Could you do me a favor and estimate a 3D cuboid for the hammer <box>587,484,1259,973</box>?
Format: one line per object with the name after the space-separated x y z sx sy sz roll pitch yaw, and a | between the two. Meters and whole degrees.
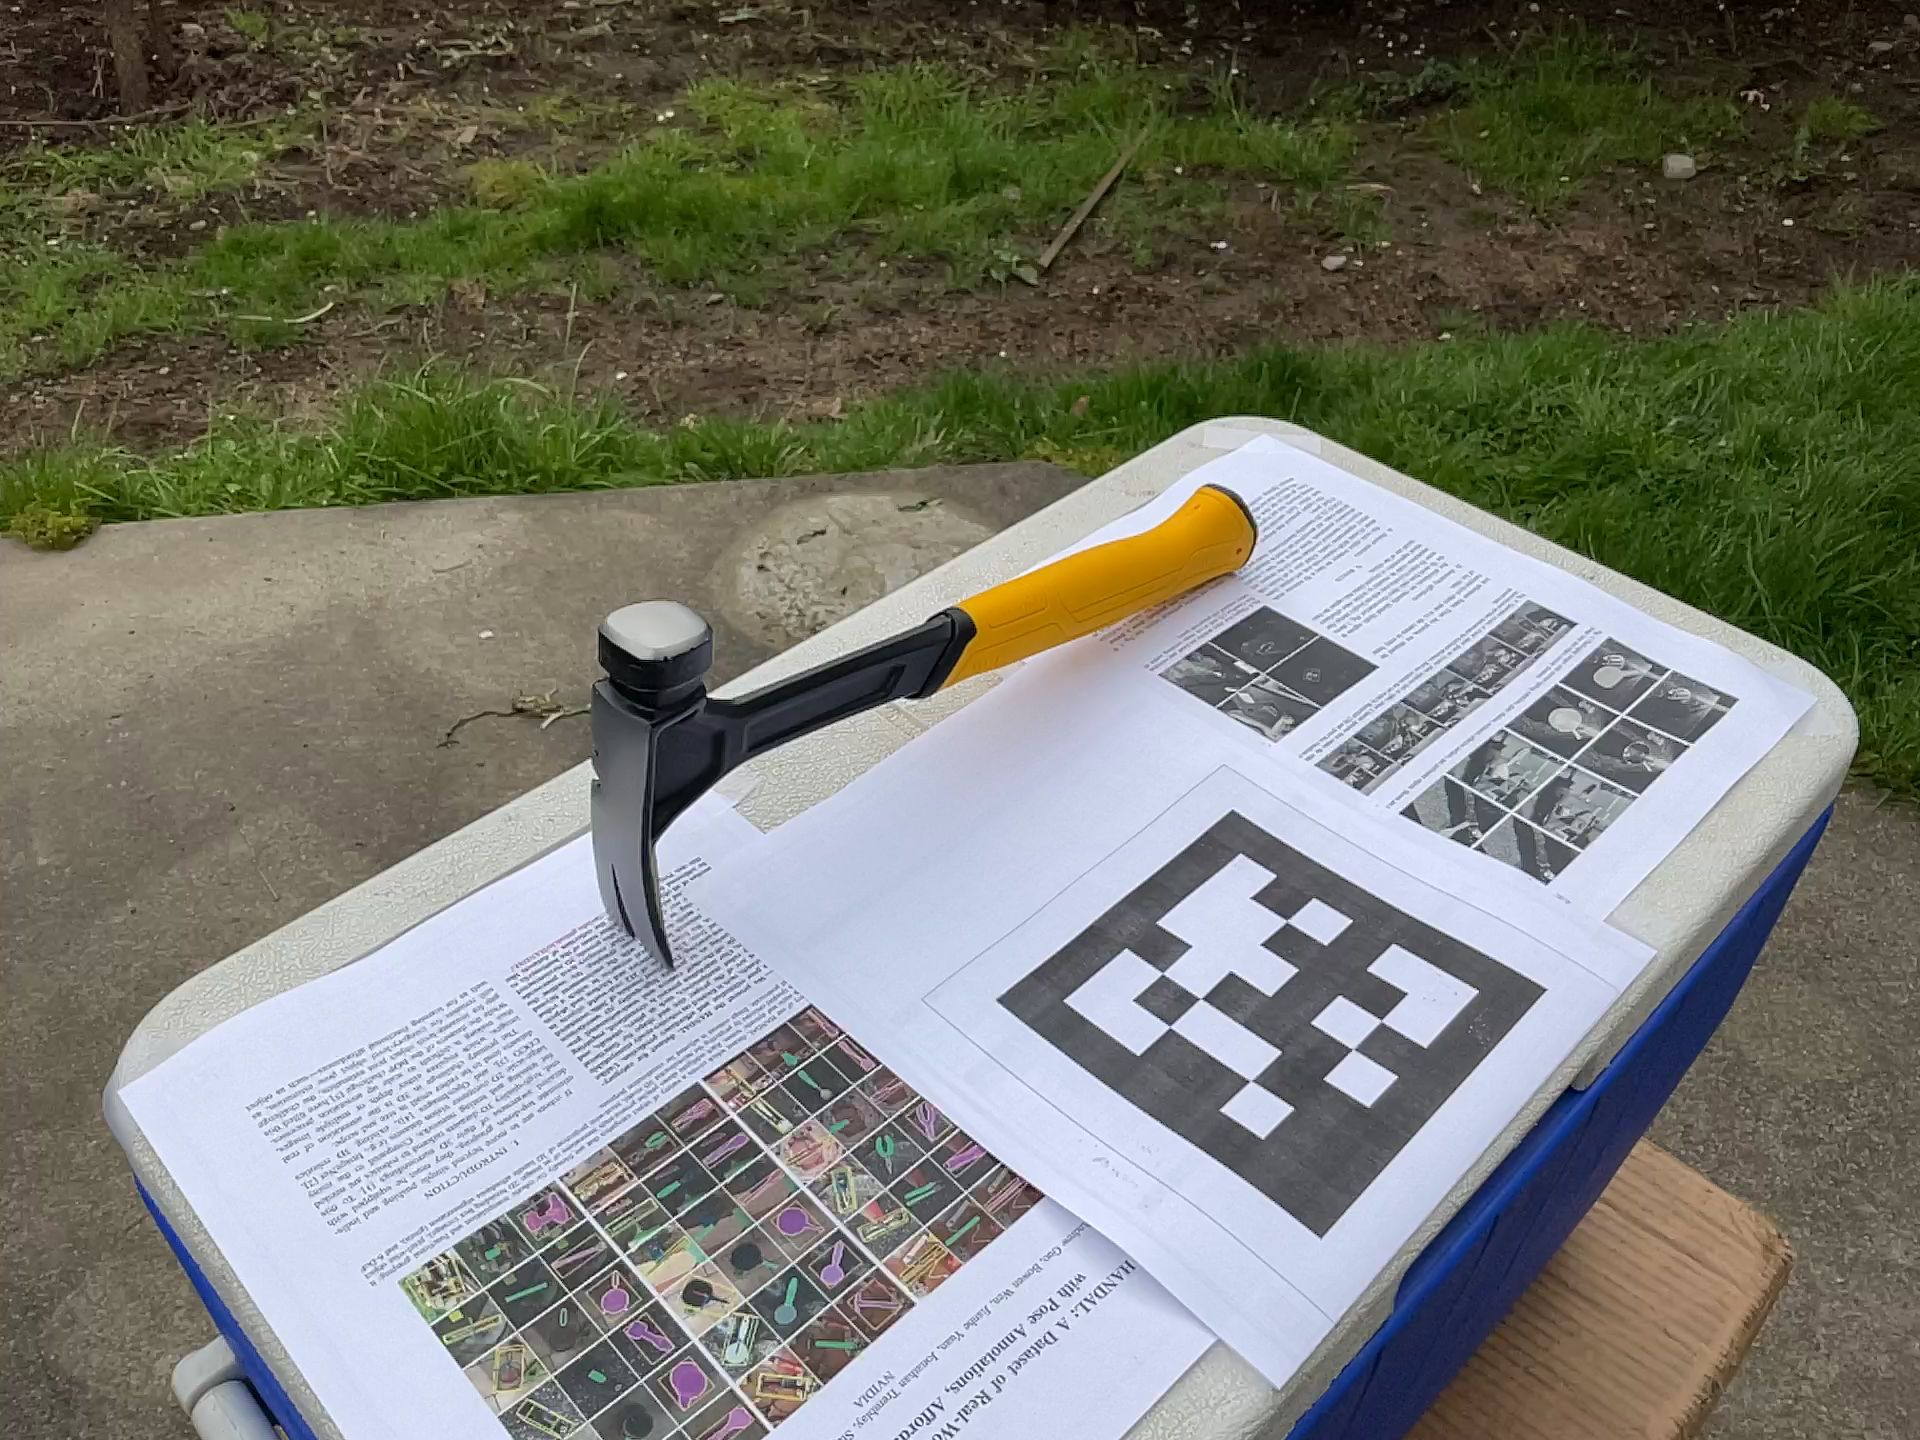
0.005 -0.025 0.607 0.034 0.127 0.337 33 40 32 | hammer
